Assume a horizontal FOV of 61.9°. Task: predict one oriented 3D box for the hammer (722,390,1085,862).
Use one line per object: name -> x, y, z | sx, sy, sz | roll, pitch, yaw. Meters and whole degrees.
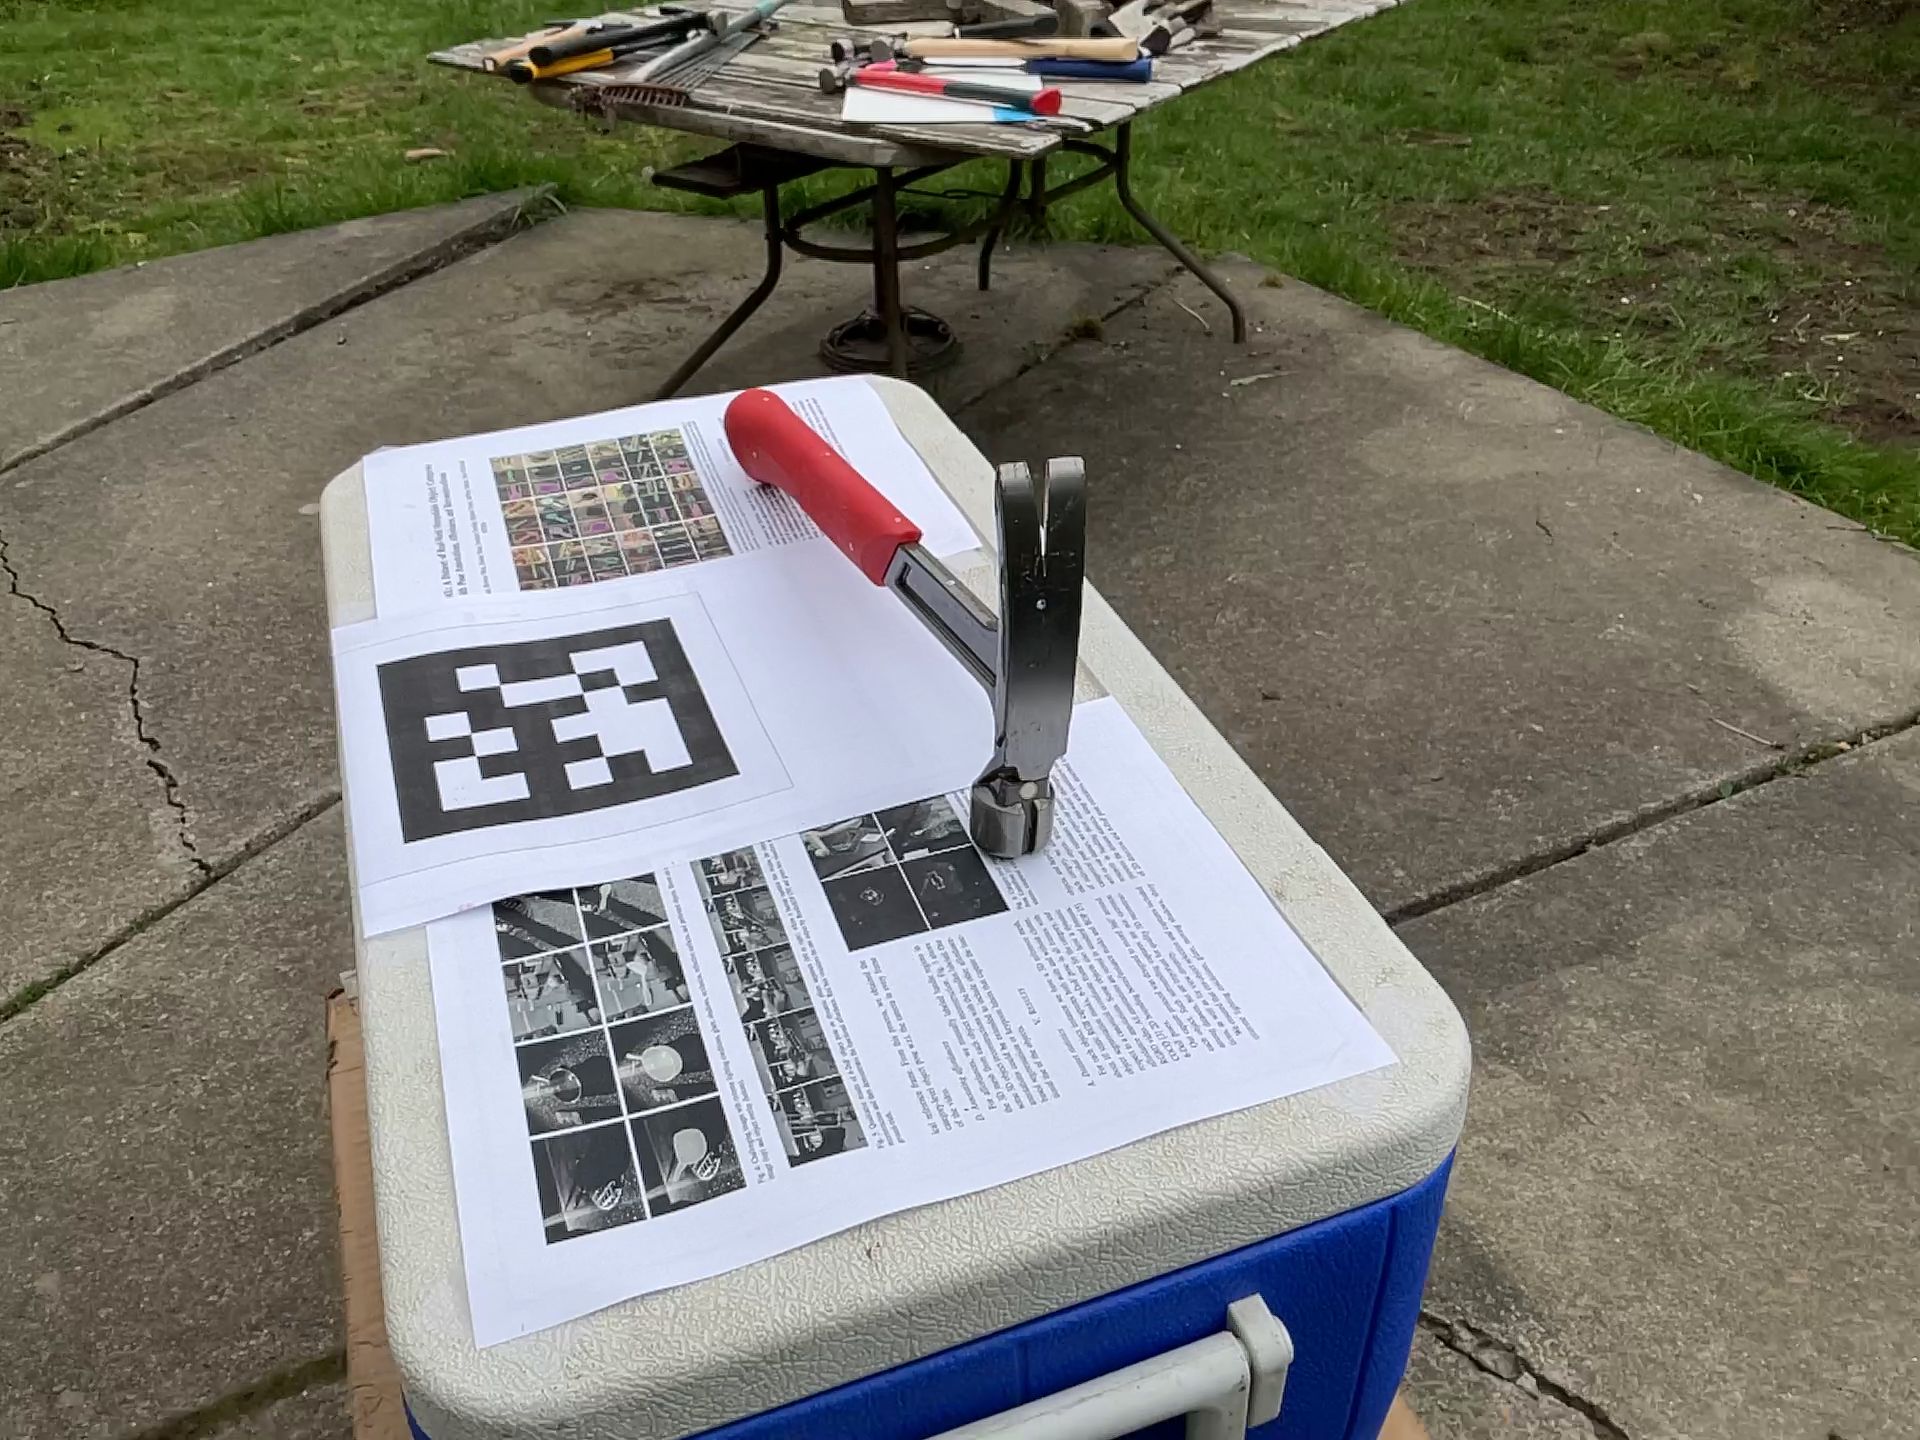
hammer -> -0.040, -0.090, 0.691 | 0.036, 0.149, 0.359 | -9, 29, -20
